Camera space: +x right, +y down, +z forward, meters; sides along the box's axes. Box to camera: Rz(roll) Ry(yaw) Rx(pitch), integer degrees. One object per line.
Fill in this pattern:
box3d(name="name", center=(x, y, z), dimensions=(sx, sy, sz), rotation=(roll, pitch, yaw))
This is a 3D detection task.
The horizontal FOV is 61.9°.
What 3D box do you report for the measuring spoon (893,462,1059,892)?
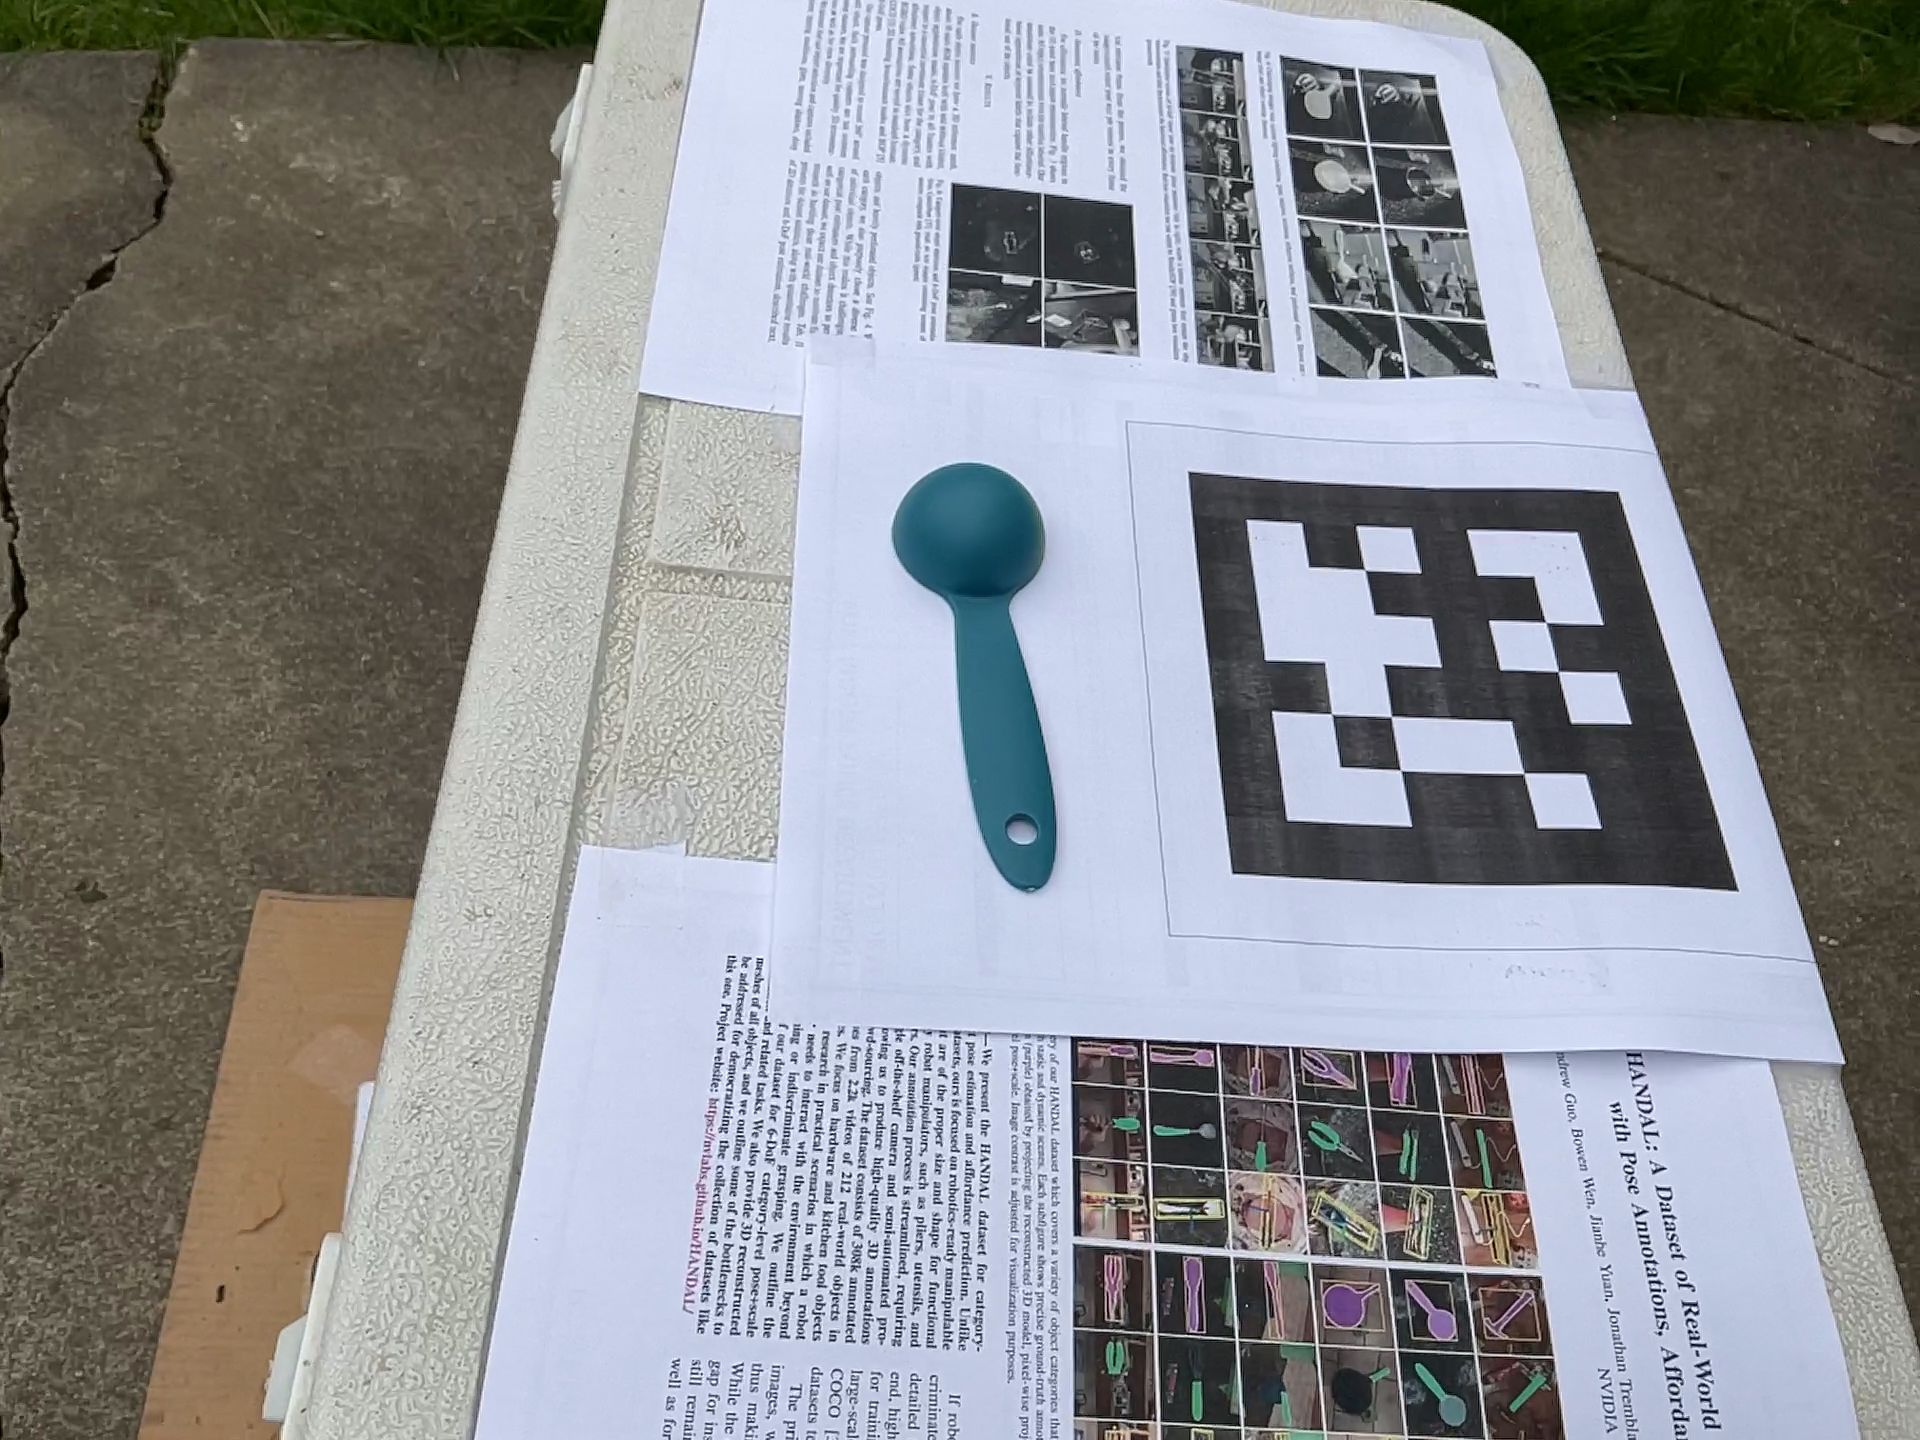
box3d(name="measuring spoon", center=(0.010, -0.018, 0.409), dimensions=(0.042, 0.021, 0.129), rotation=(0, 58, -15))
